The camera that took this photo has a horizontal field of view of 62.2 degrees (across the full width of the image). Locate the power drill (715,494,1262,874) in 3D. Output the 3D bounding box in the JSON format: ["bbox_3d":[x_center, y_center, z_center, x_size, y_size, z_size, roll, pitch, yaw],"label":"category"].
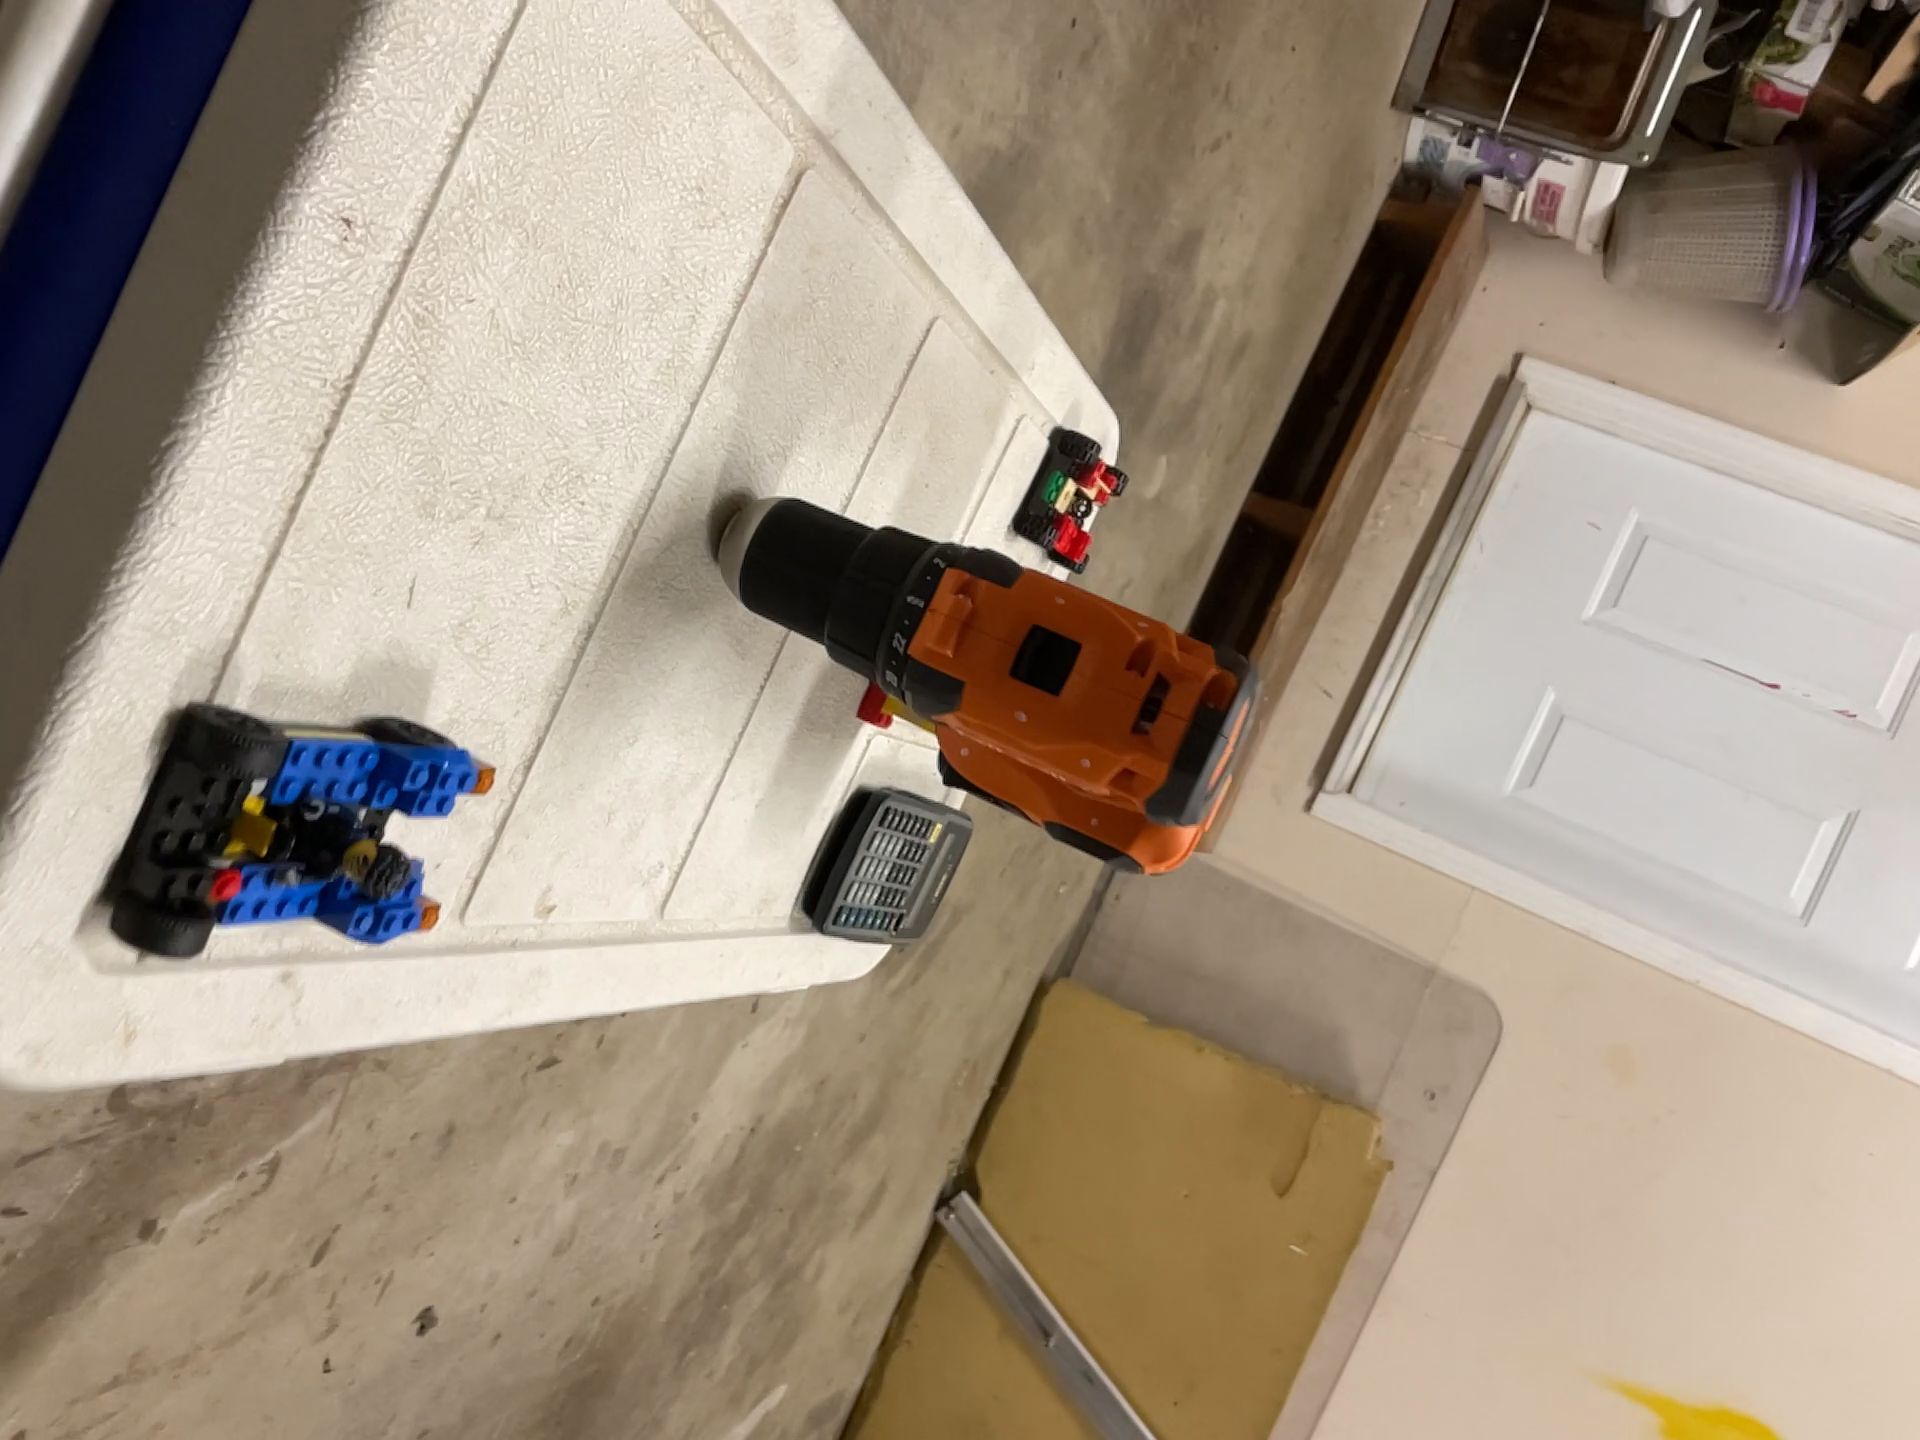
[{"bbox_3d":[0.017,-0.012,0.597,0.084,0.185,0.226,-65,167,-4],"label":"power drill"}]
